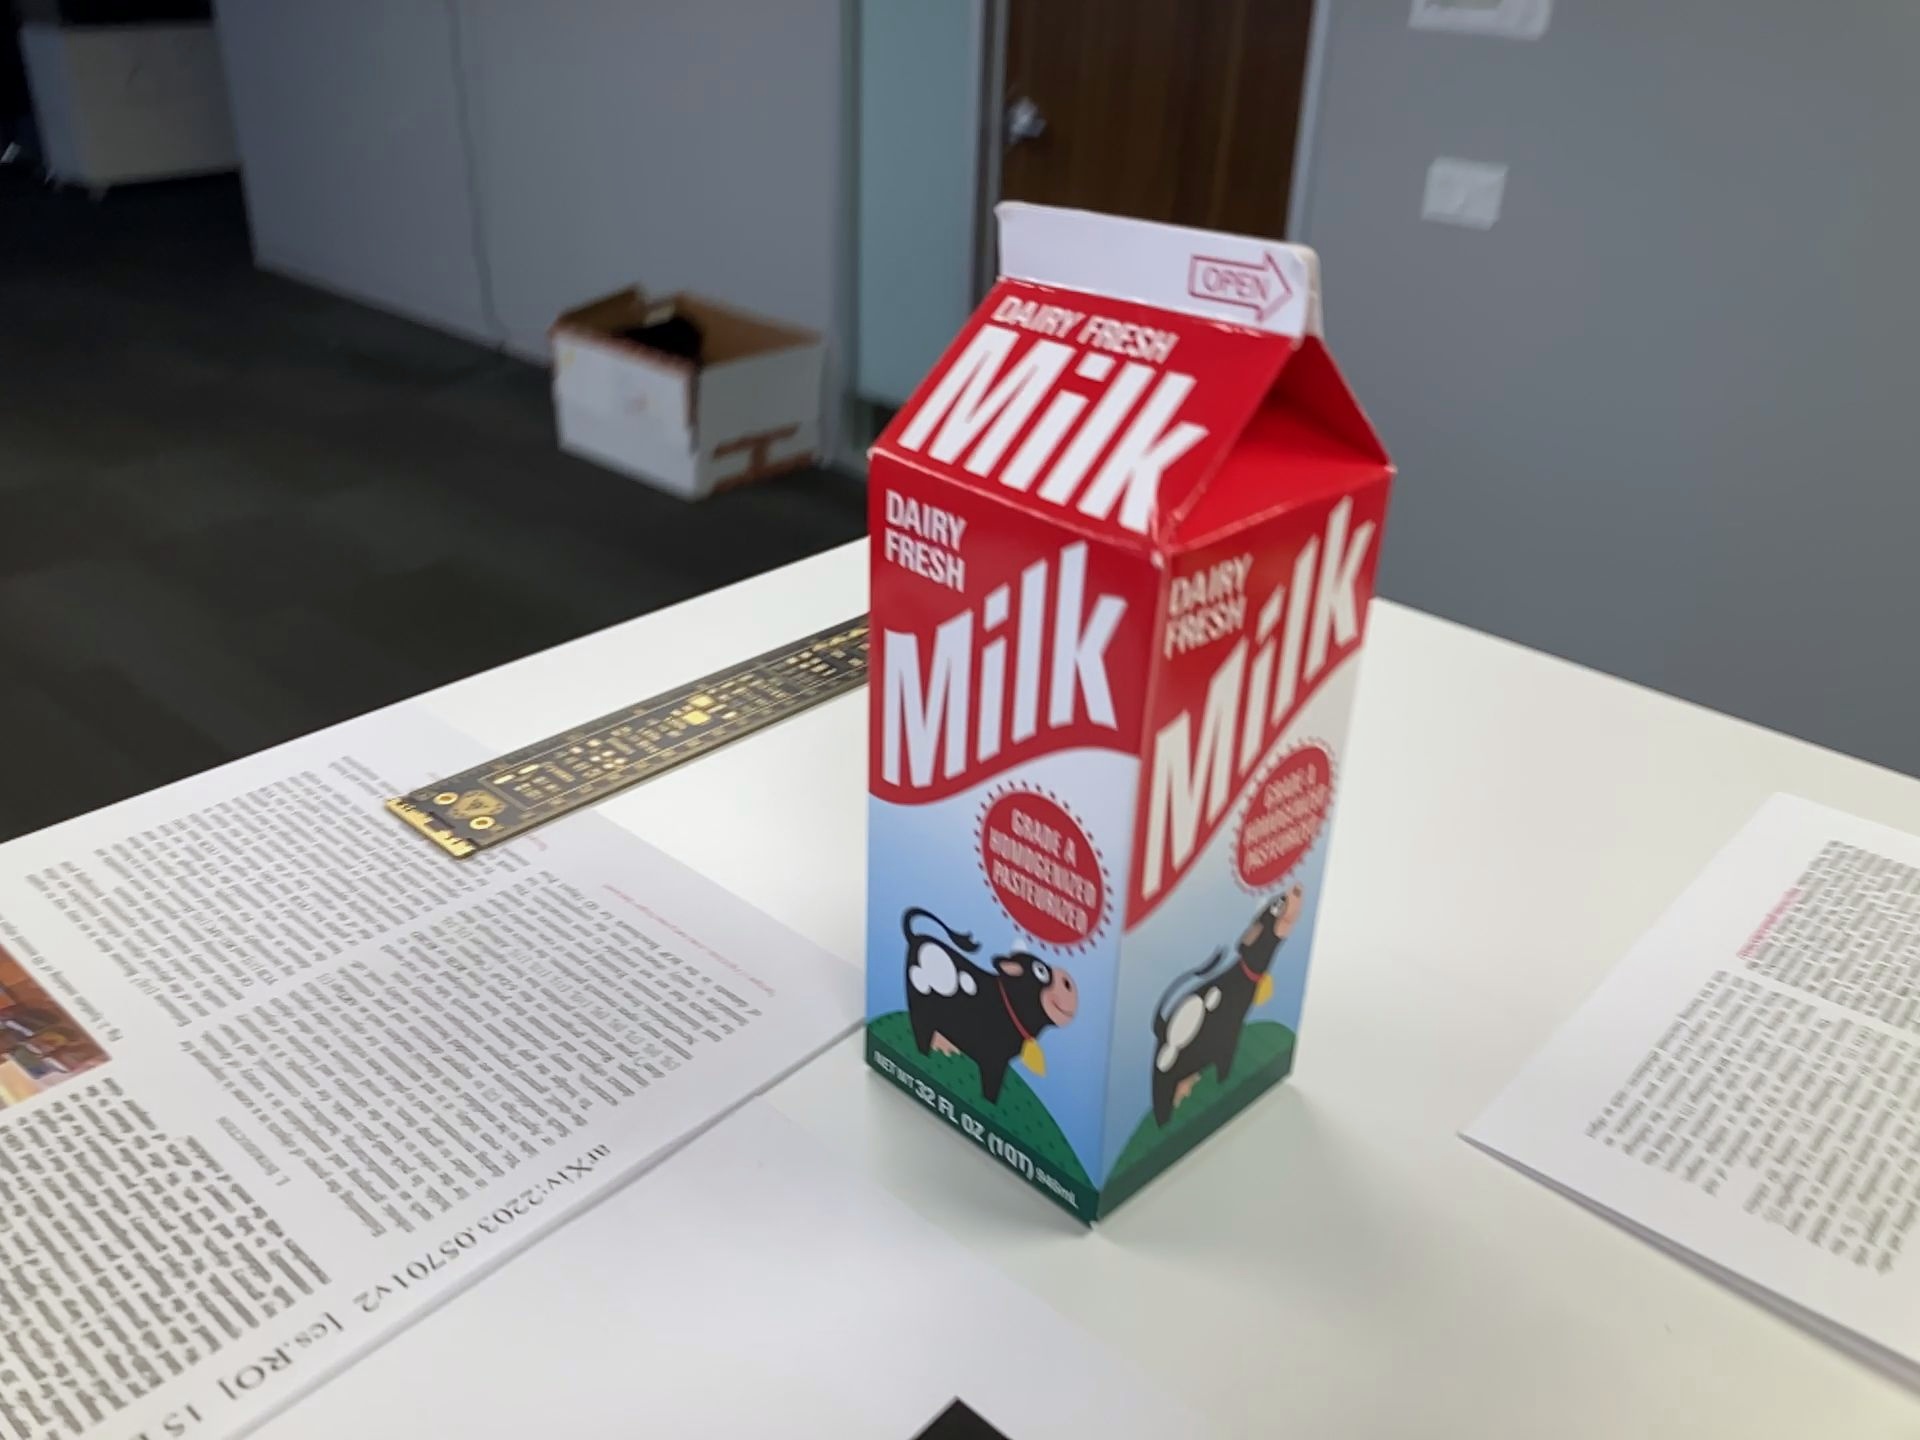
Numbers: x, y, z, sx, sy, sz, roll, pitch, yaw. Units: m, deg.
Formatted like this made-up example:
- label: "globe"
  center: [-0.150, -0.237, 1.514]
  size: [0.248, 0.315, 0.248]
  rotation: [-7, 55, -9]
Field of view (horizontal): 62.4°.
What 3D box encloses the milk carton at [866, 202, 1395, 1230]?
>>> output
- label: "milk carton"
  center: [0.030, -0.002, 0.322]
  size: [0.073, 0.190, 0.072]
  rotation: [-23, 36, -39]
